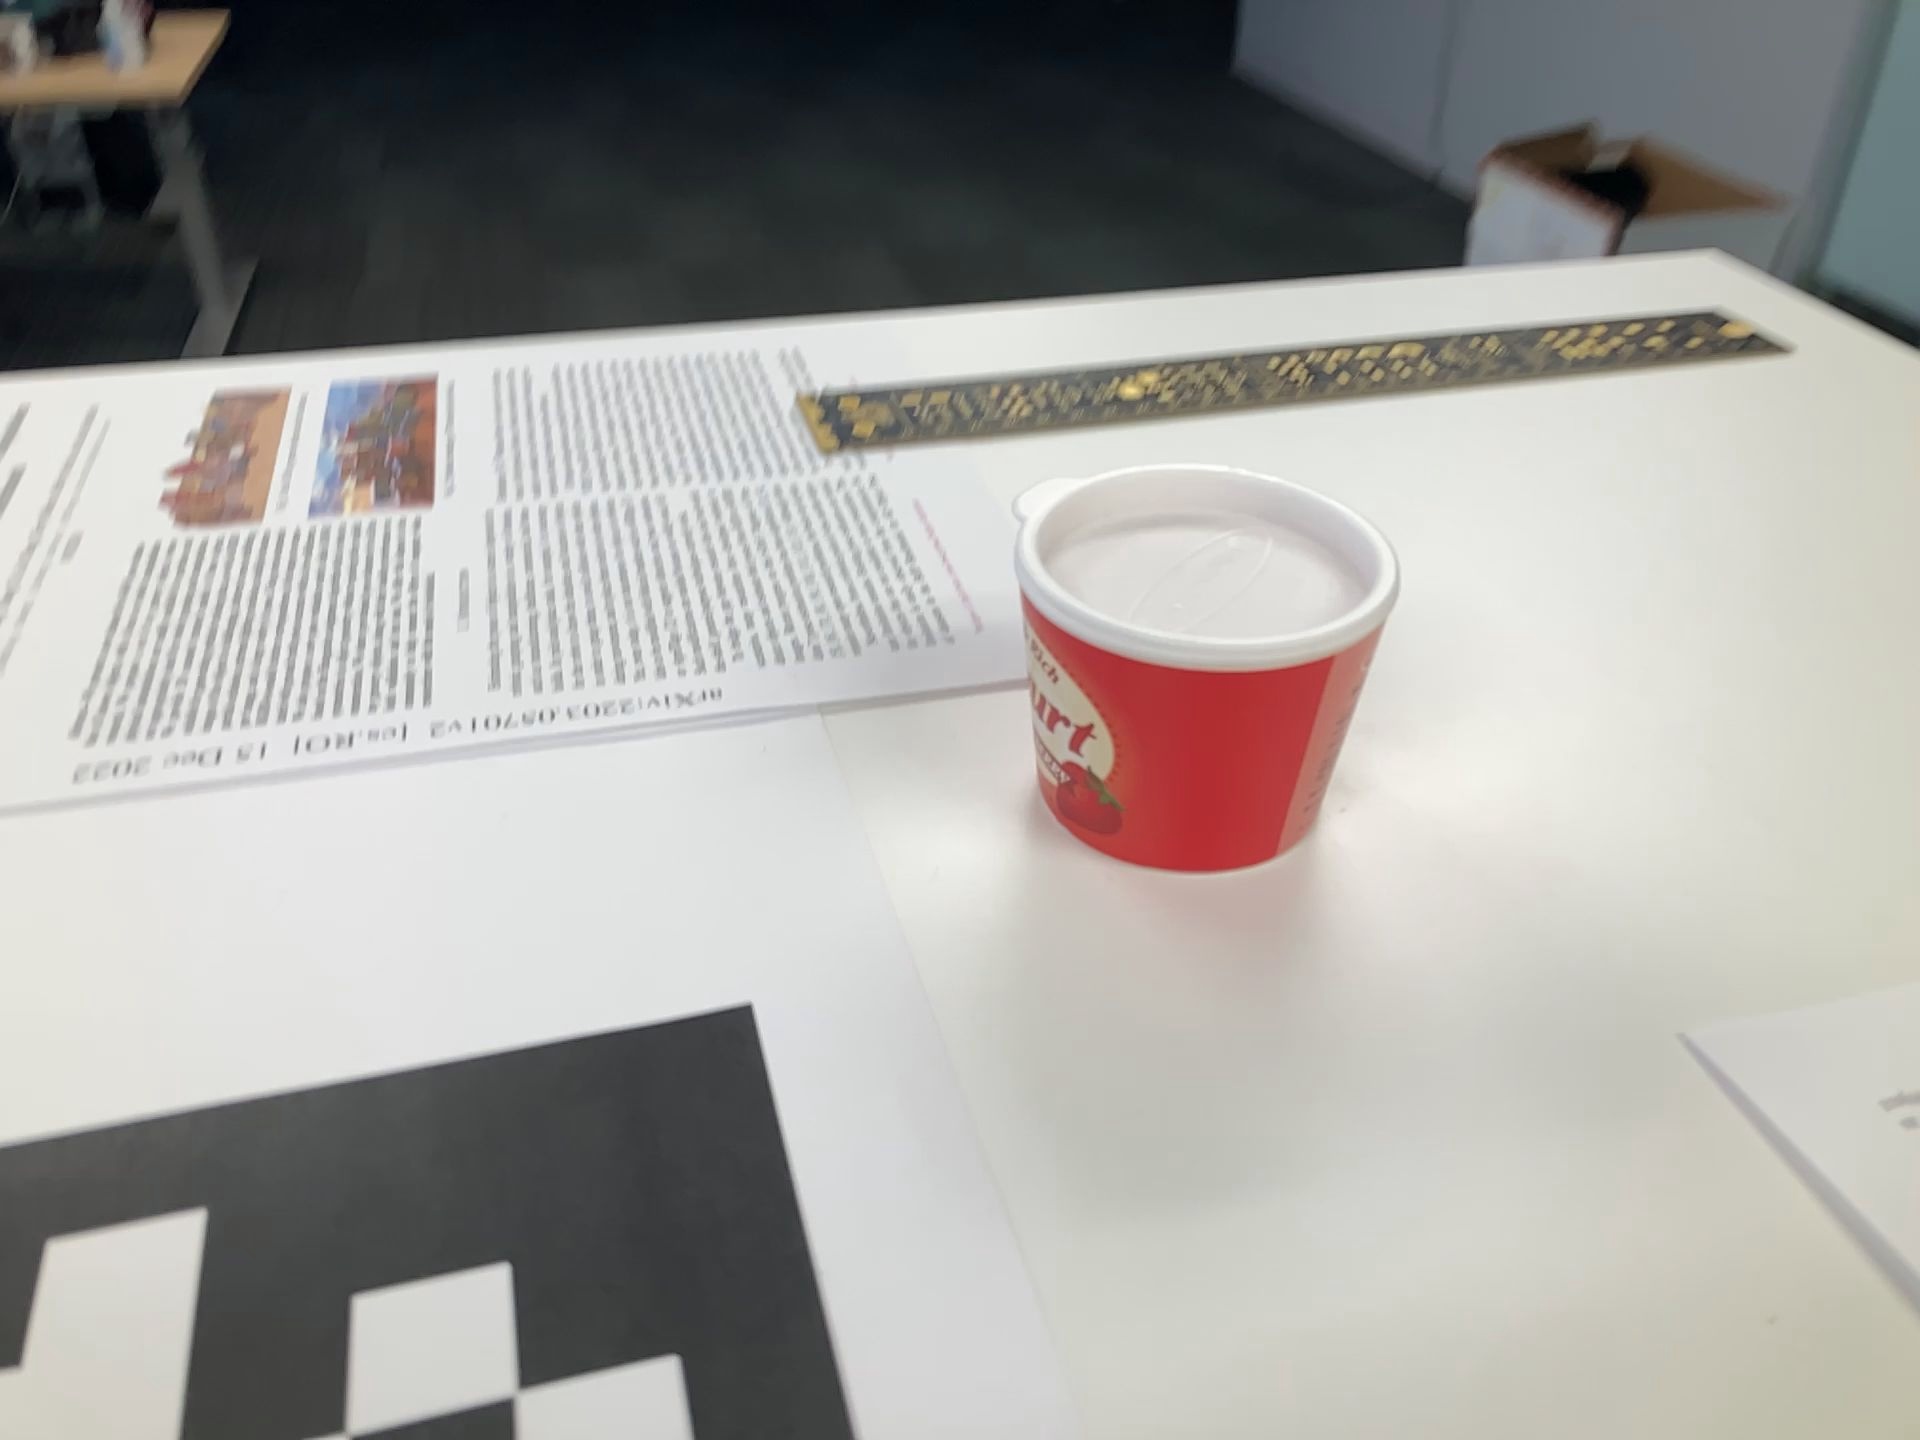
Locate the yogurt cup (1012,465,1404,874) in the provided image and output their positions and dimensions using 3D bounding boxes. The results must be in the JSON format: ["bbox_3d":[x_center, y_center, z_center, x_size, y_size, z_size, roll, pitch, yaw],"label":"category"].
[{"bbox_3d":[0.042,-0.009,0.292,0.072,0.054,0.072,2,35,-1],"label":"yogurt cup"}]
